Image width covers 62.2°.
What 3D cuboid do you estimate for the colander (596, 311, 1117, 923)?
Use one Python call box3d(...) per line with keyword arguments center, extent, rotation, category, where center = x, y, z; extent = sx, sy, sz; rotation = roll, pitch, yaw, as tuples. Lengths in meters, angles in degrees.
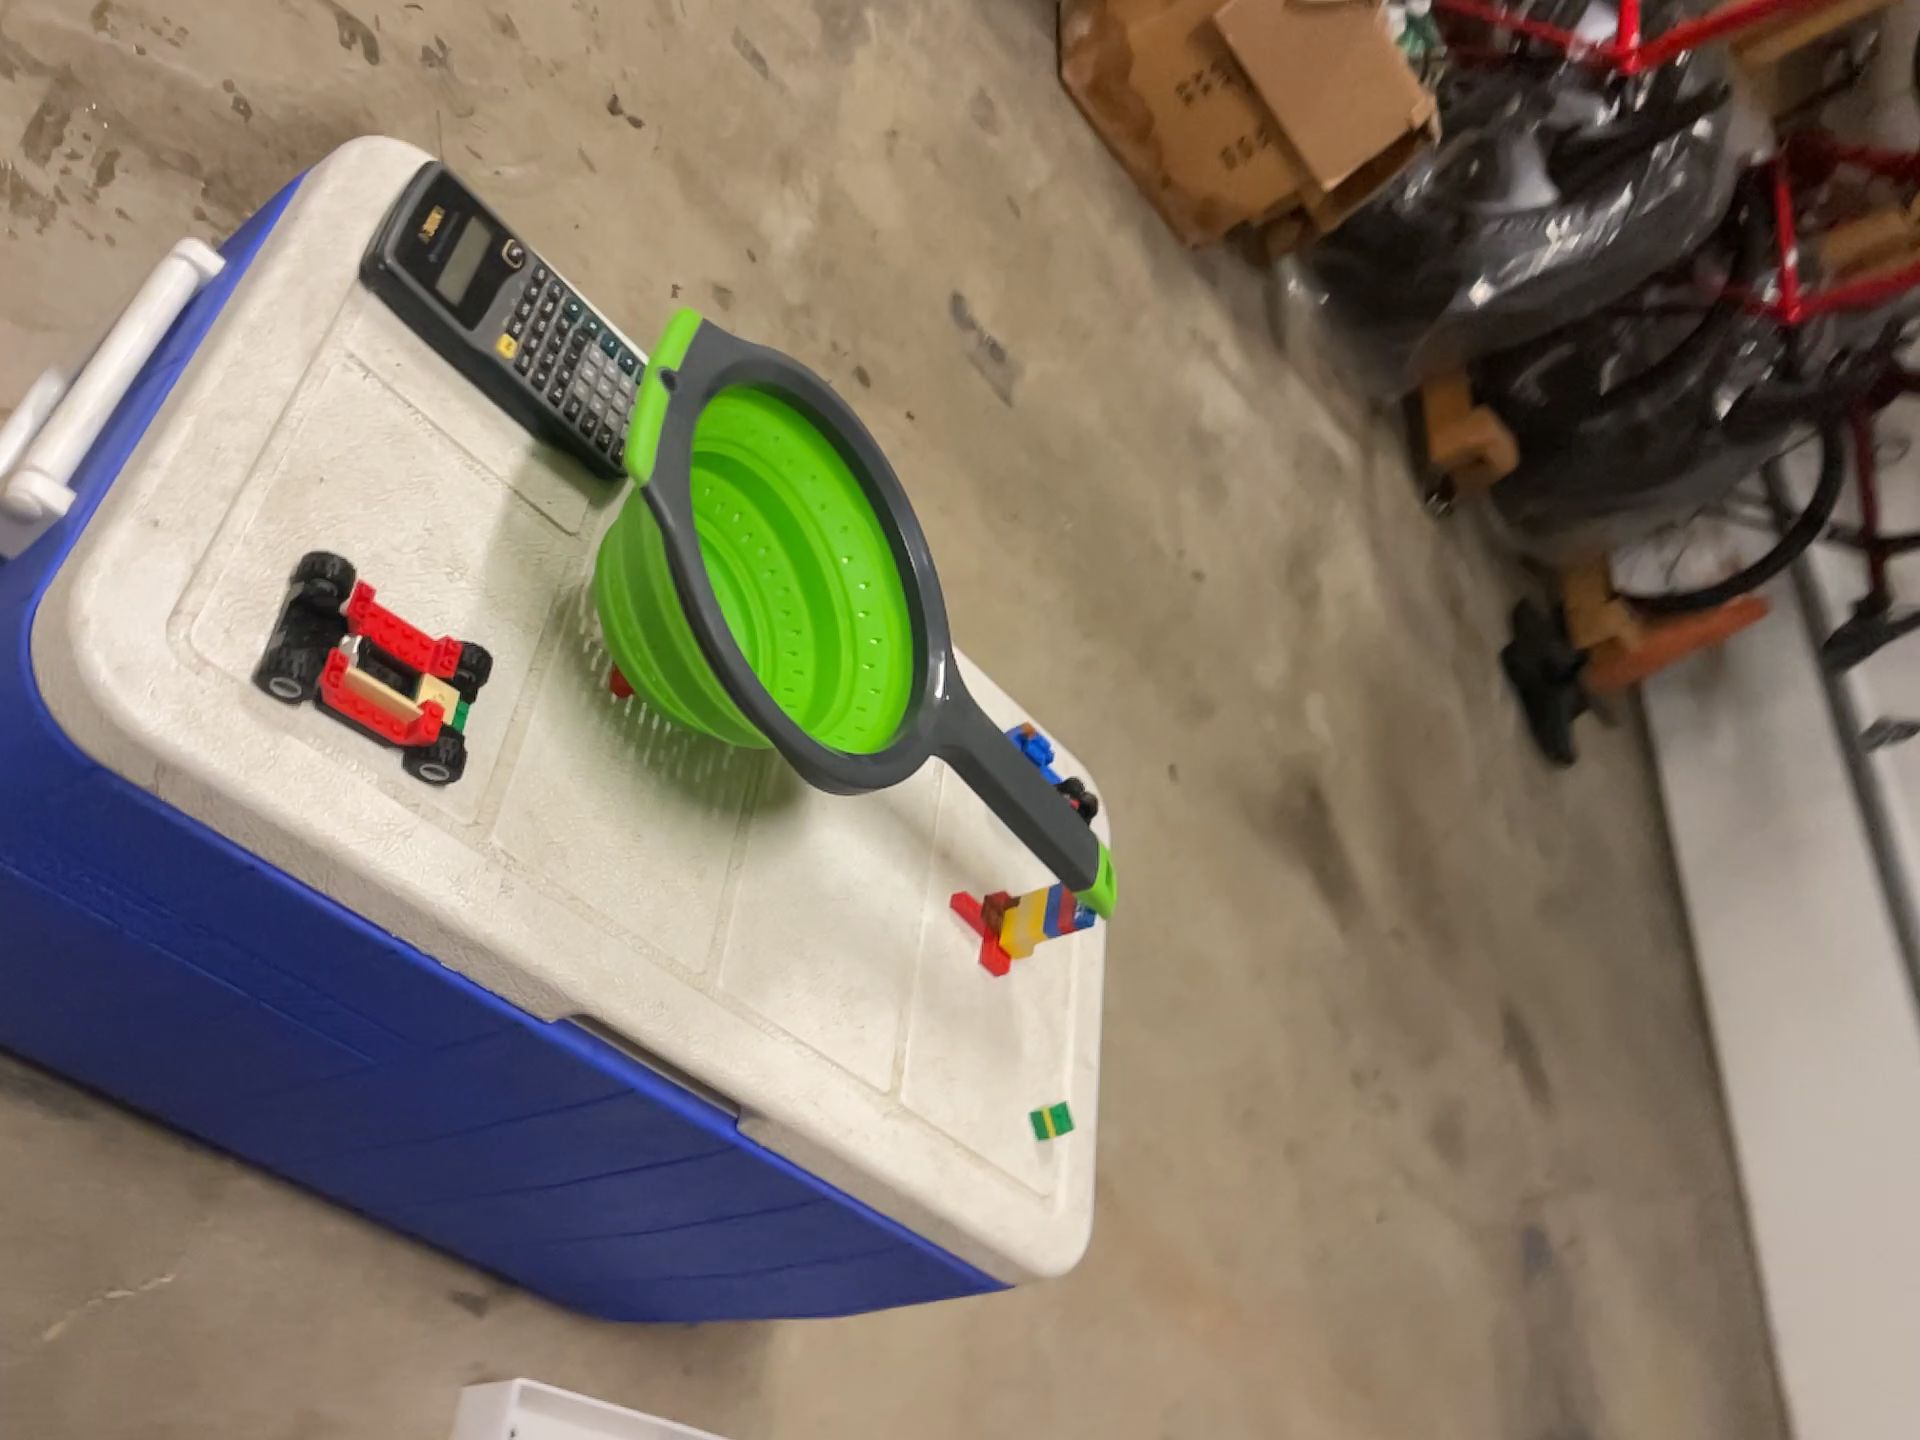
box3d(center=(-0.051, -0.008, 0.766), extent=(0.396, 0.094, 0.205), rotation=(48, 34, -37), category="colander")
